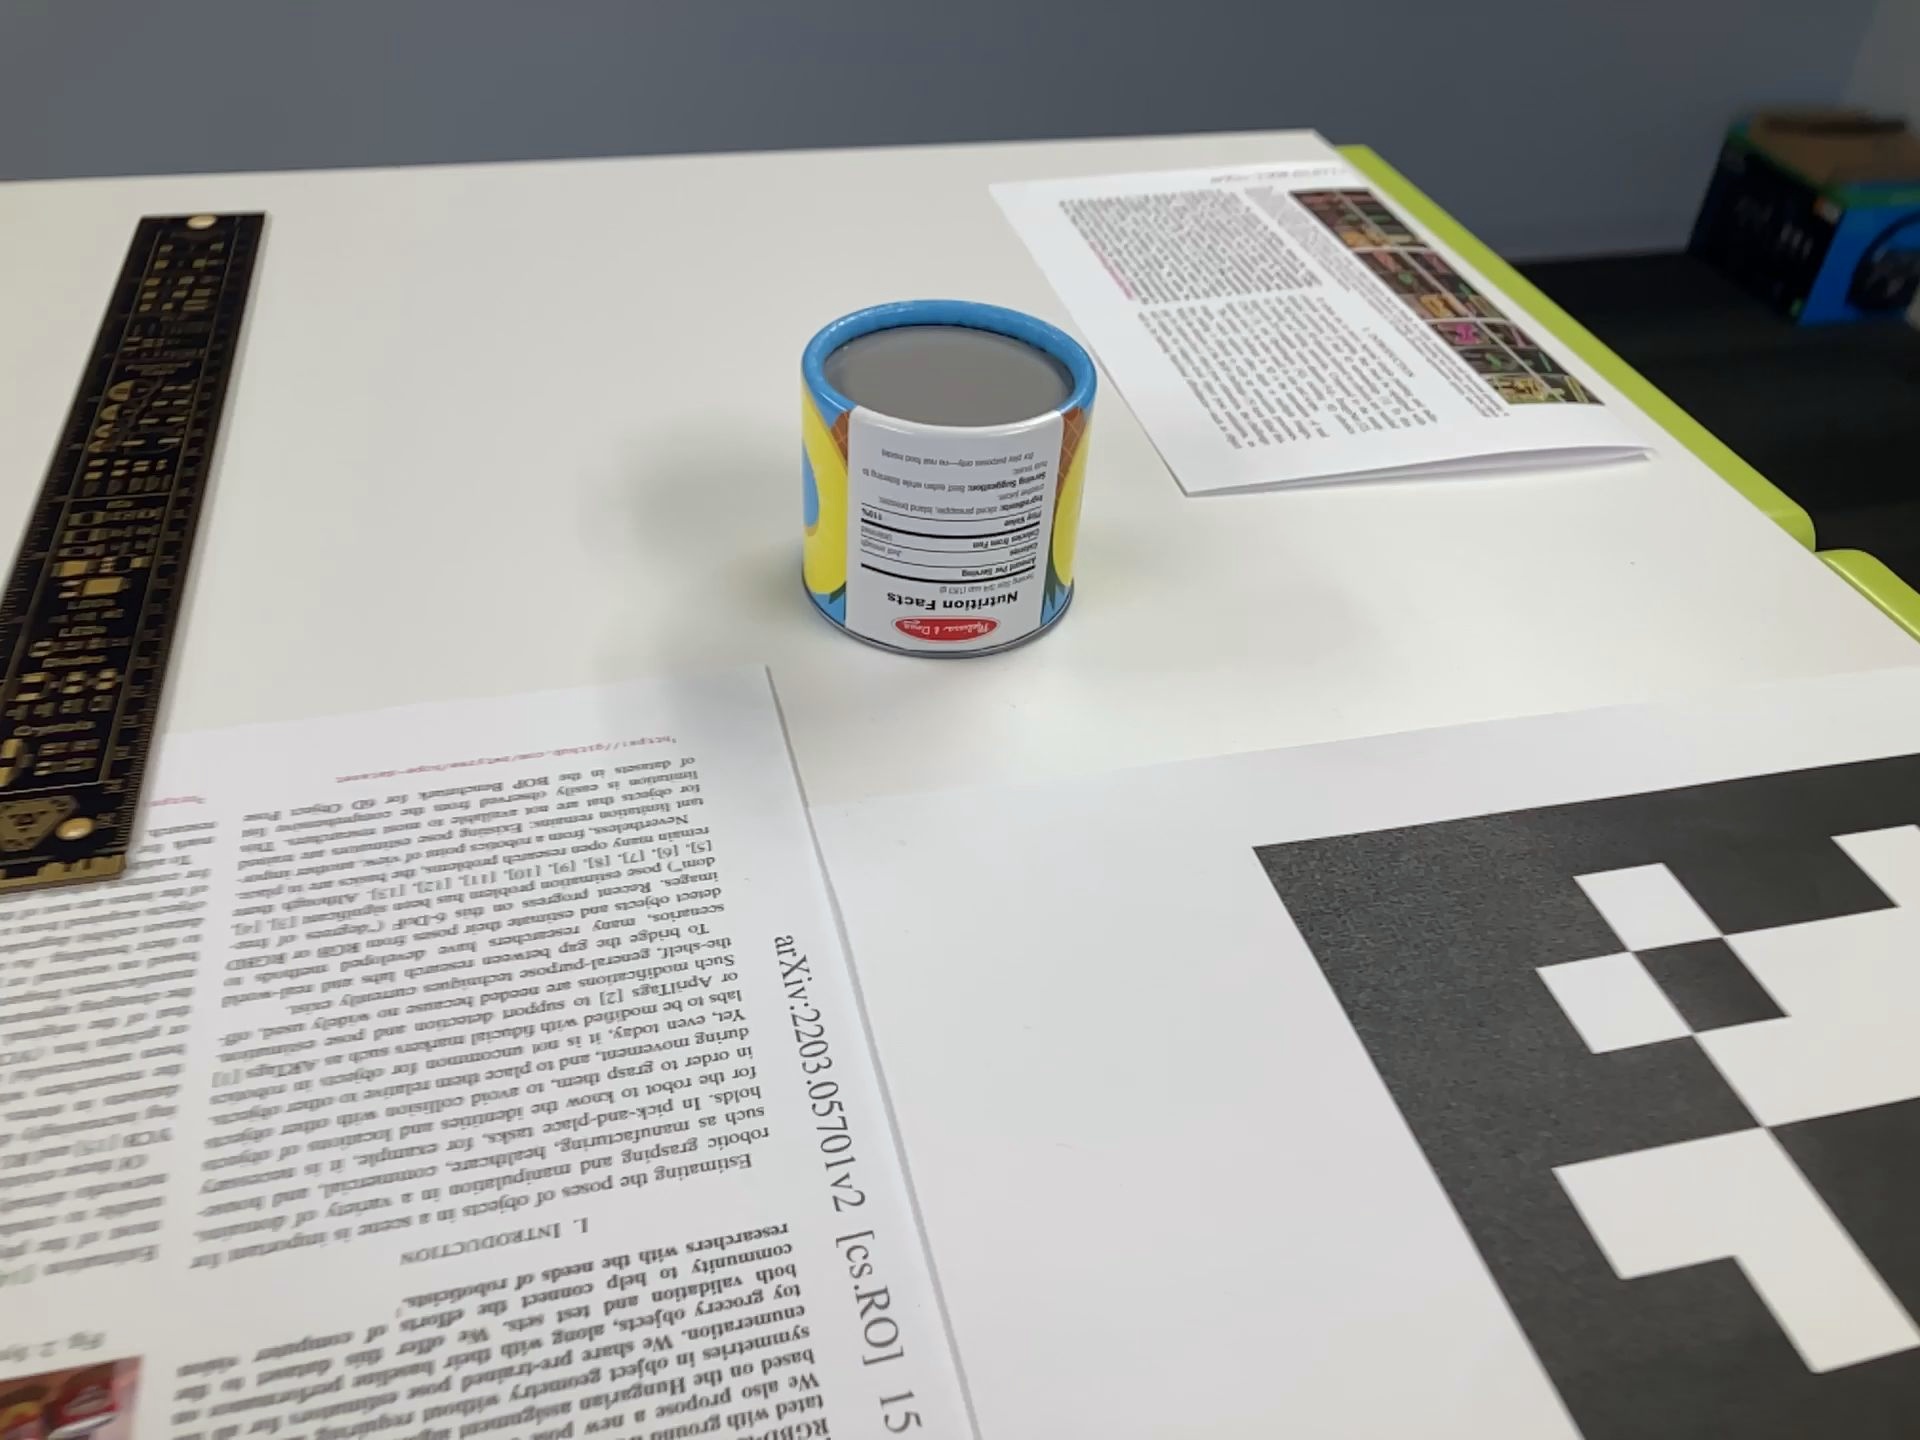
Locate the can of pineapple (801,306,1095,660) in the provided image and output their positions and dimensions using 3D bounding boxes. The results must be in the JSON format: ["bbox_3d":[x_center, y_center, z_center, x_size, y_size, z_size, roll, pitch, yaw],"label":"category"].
[{"bbox_3d":[-0.004,-0.058,0.370,0.071,0.058,0.071,3,39,-2],"label":"can of pineapple"}]
